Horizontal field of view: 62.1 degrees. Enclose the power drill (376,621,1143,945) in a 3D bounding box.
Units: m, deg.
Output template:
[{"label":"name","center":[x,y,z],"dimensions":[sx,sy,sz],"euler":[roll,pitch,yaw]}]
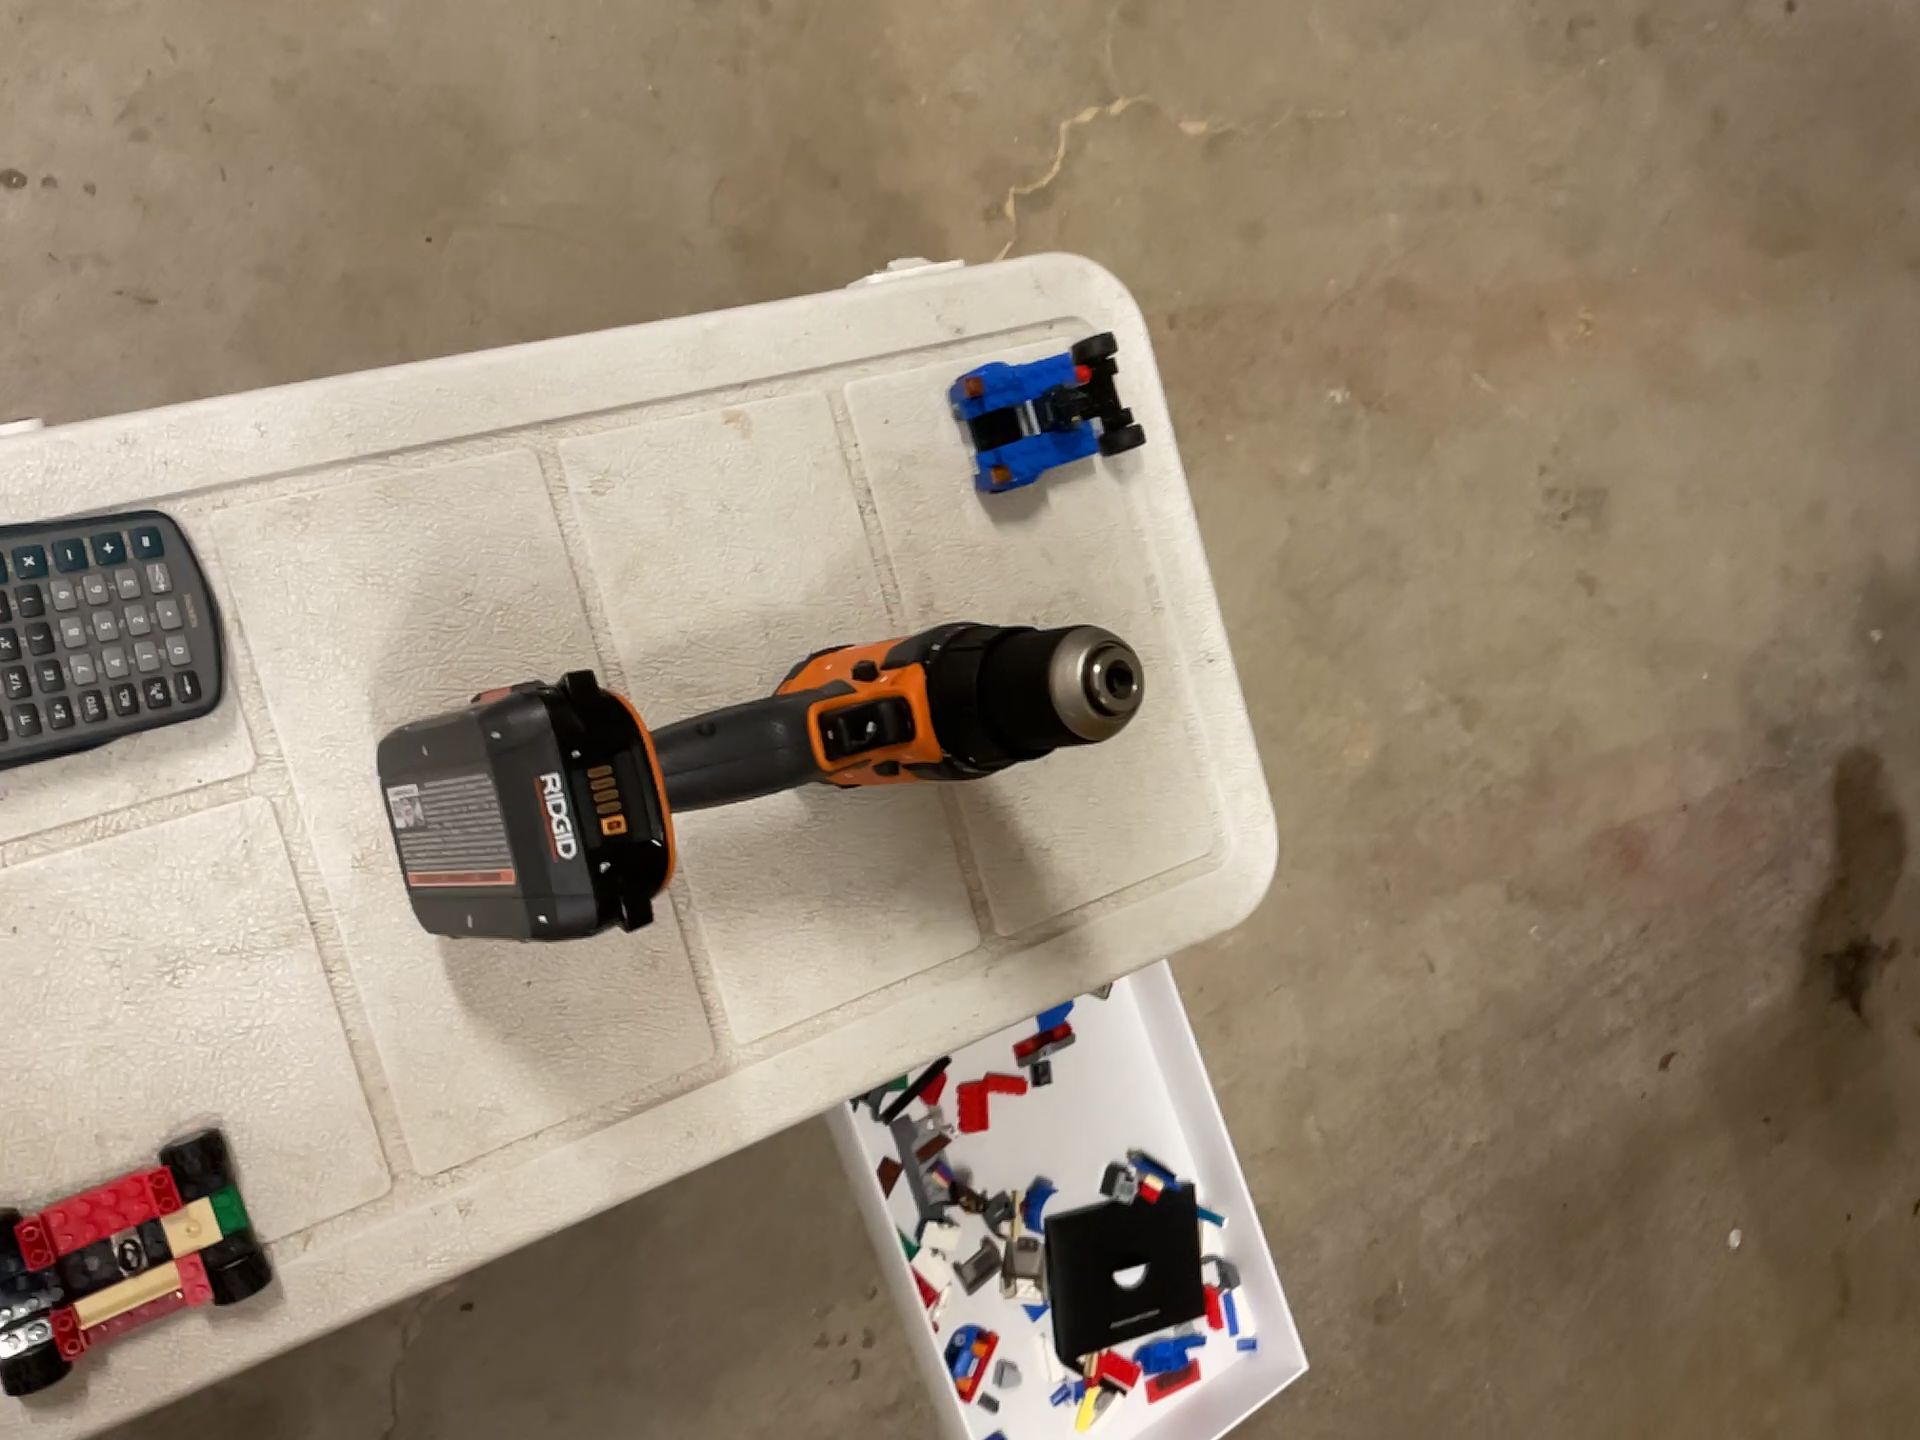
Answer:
[{"label":"power drill","center":[-0.063,0.010,0.560],"dimensions":[0.226,0.185,0.084],"euler":[-15,96,-38]}]
